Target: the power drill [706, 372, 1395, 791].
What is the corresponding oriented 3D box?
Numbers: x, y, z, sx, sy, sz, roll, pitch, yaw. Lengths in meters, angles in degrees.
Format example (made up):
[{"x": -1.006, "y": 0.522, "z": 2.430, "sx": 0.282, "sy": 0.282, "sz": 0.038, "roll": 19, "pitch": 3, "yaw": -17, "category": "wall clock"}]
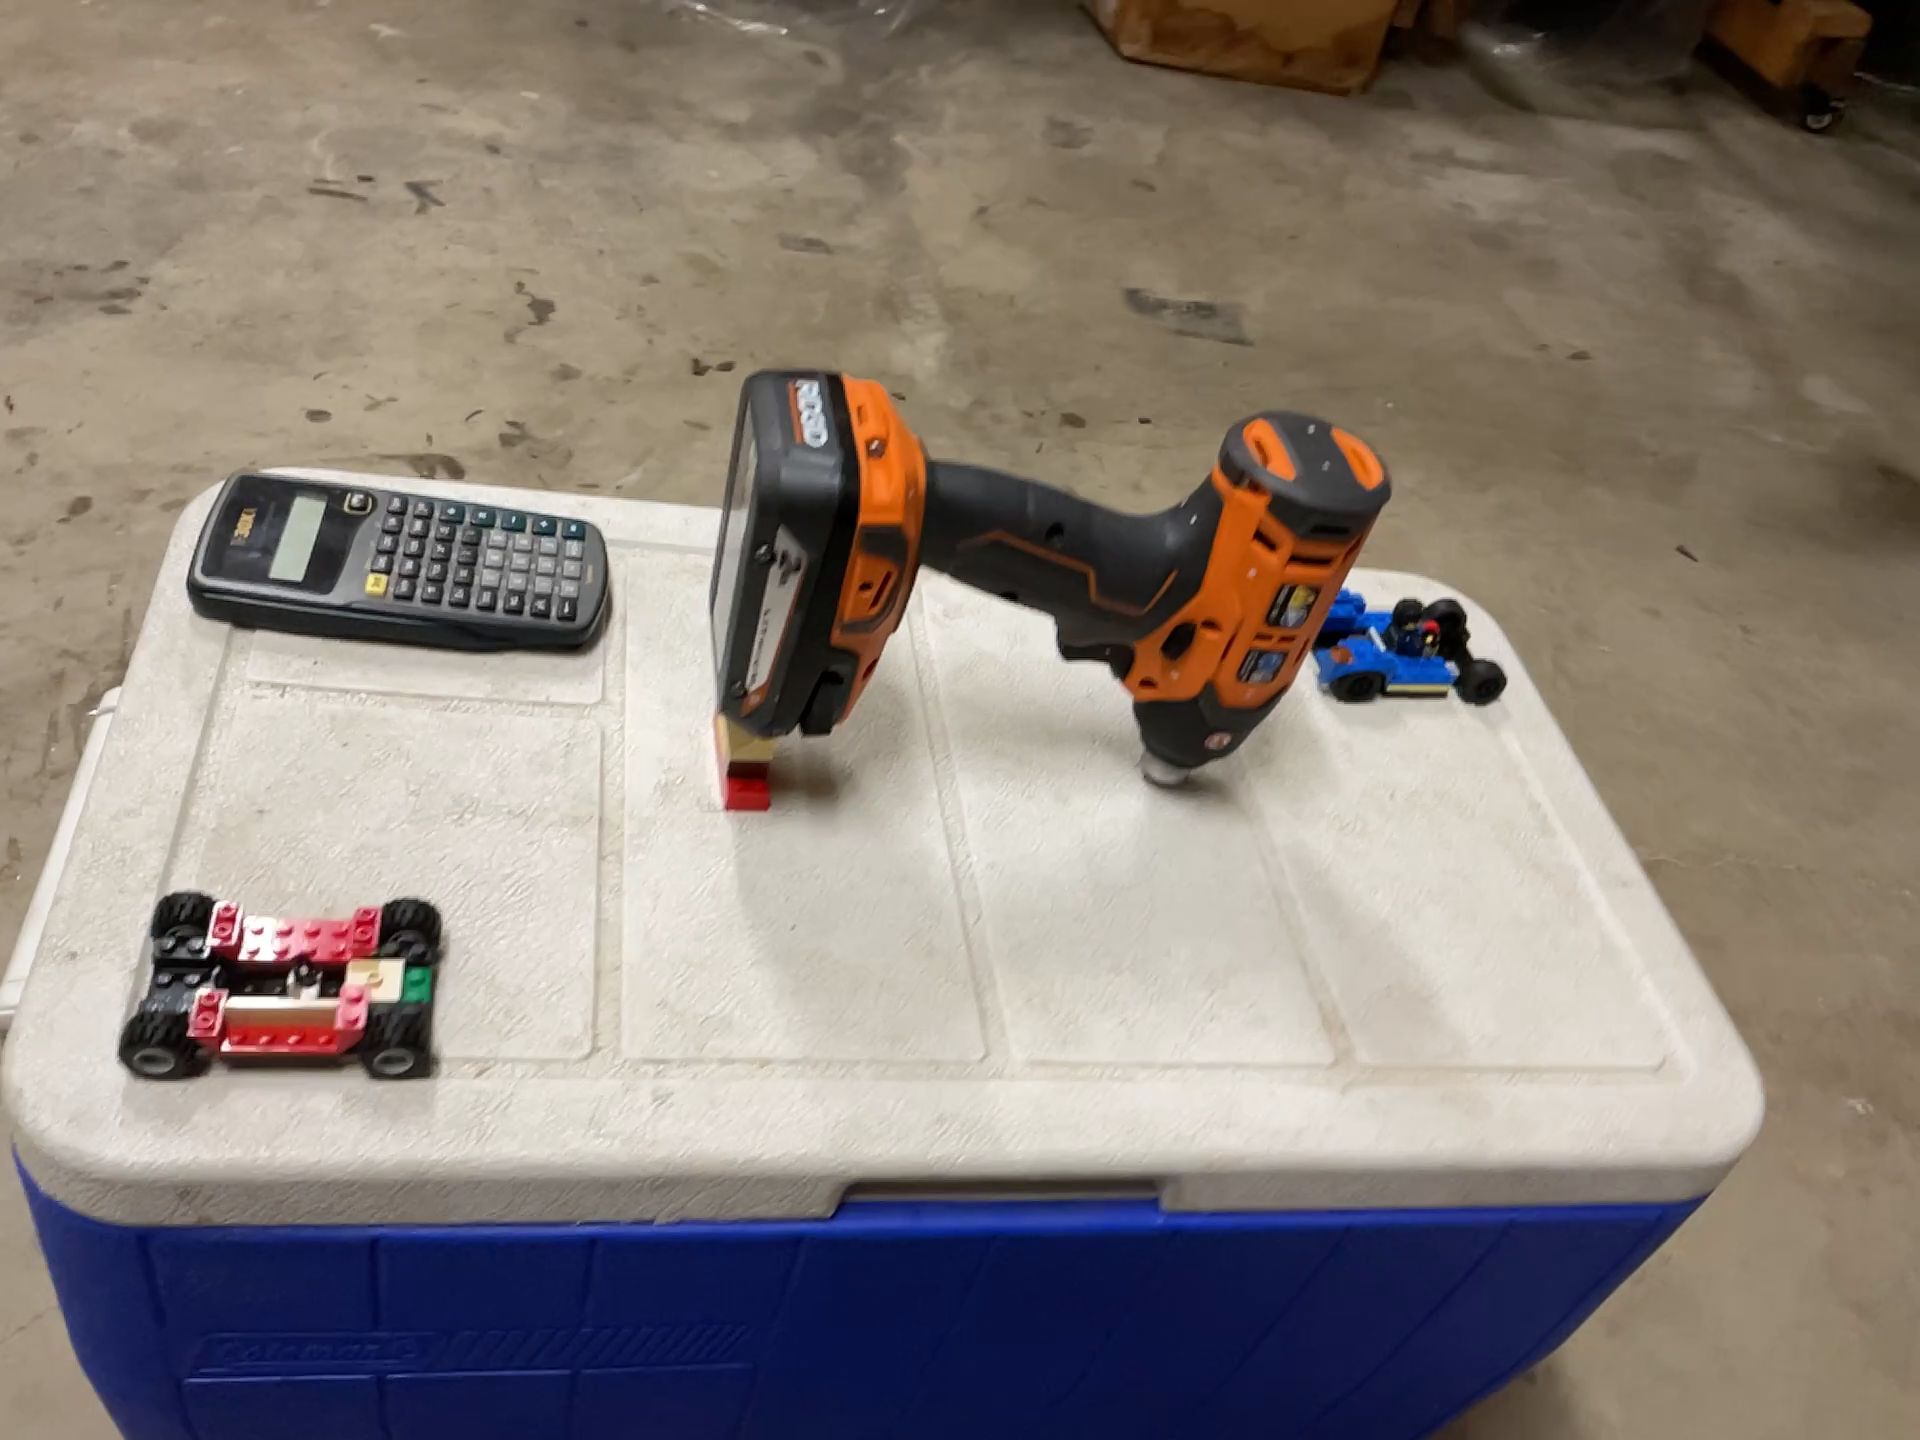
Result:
[{"x": 0.026, "y": -0.040, "z": 0.584, "sx": 0.226, "sy": 0.164, "sz": 0.084, "roll": 3, "pitch": 42, "yaw": -16, "category": "power drill"}]
